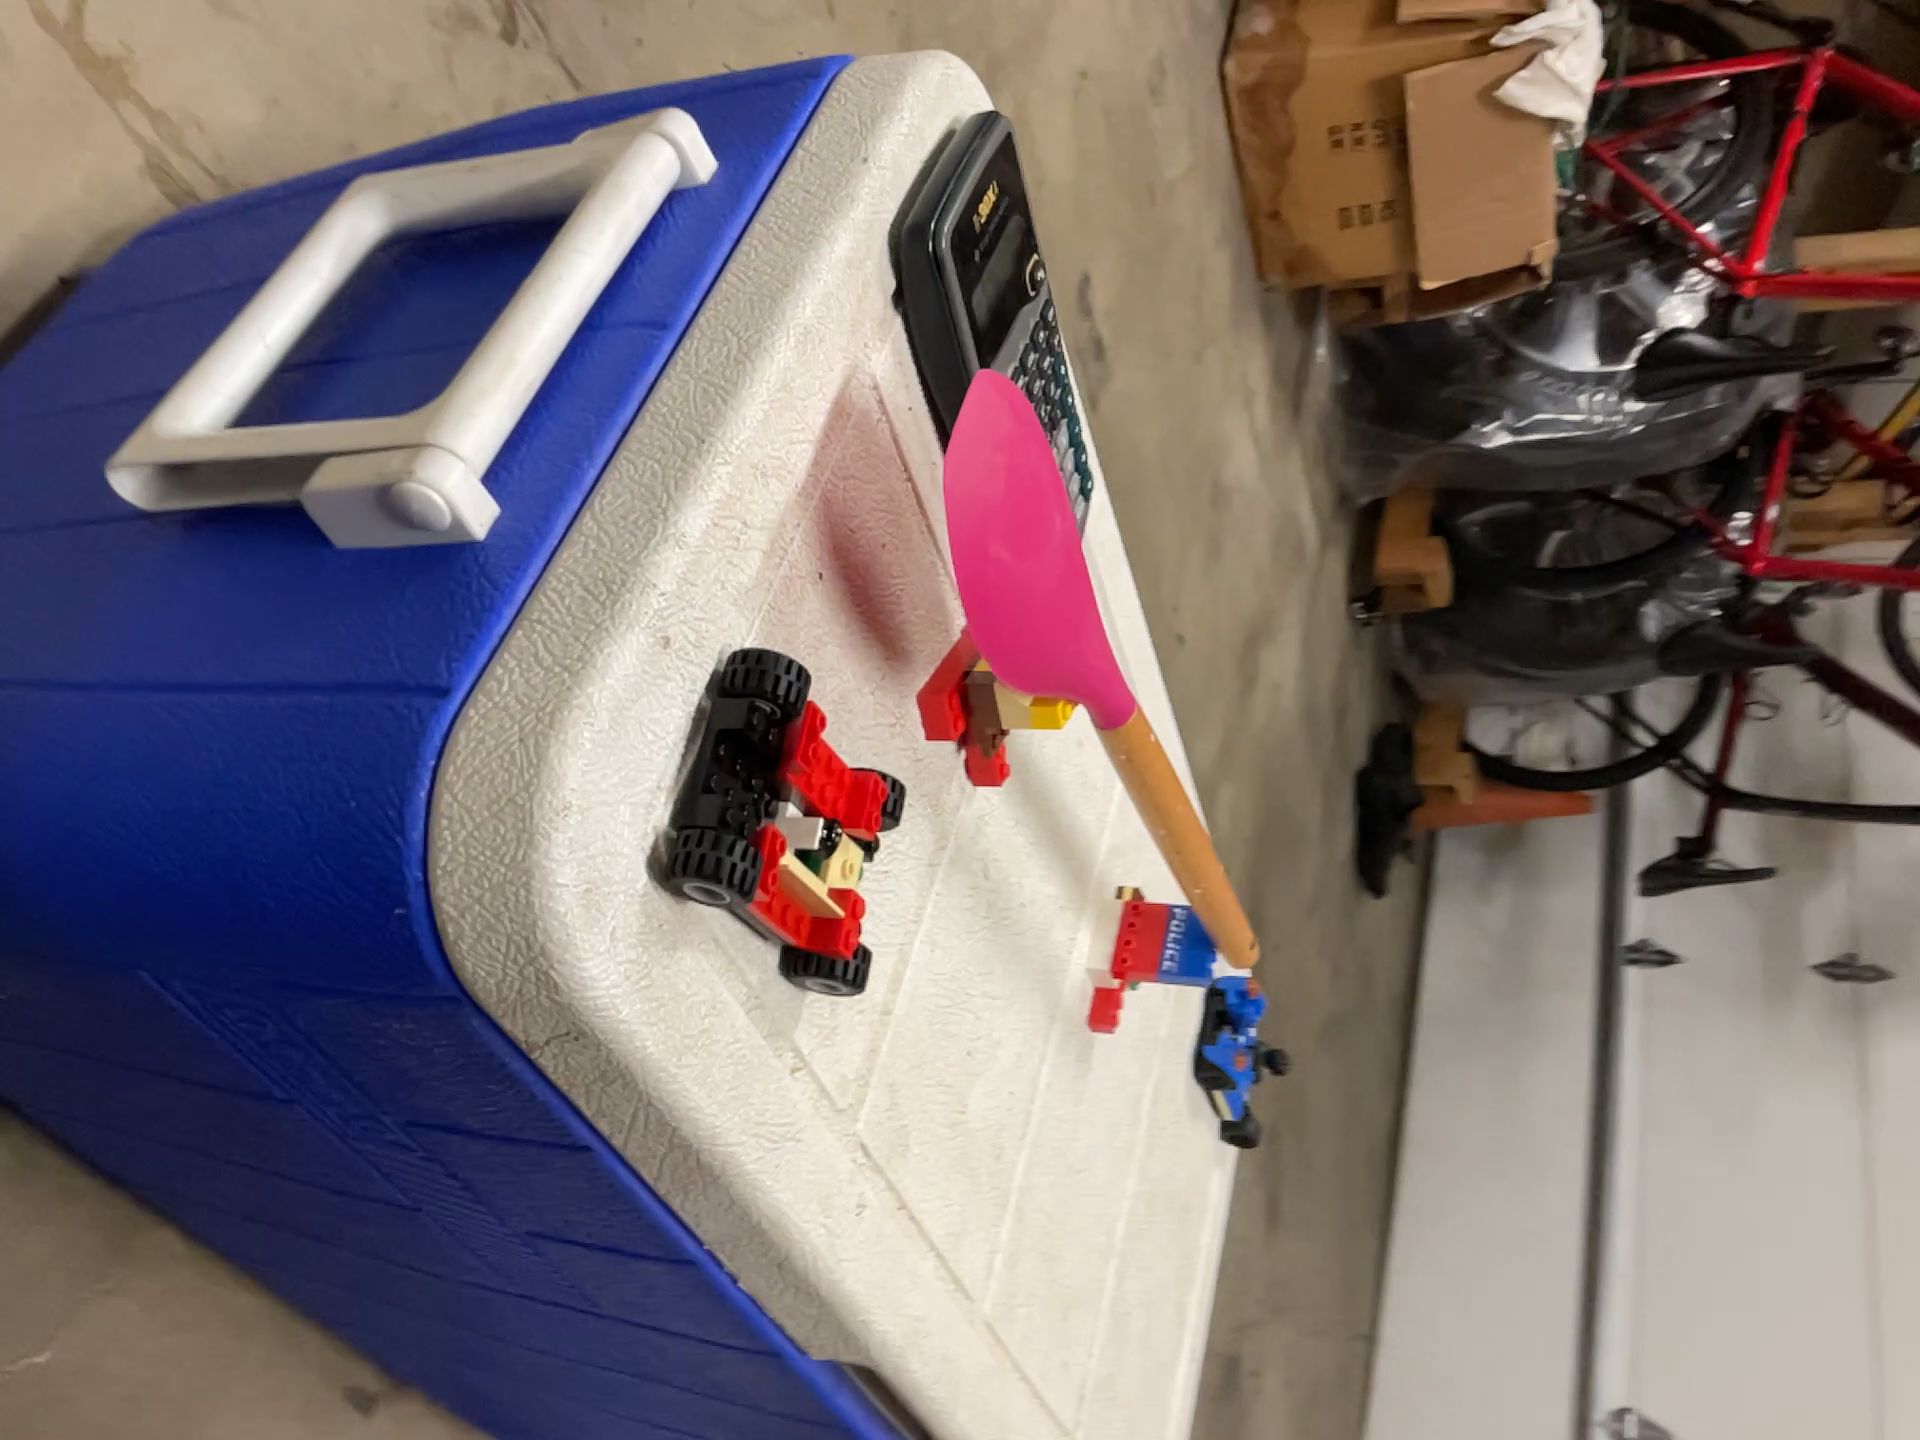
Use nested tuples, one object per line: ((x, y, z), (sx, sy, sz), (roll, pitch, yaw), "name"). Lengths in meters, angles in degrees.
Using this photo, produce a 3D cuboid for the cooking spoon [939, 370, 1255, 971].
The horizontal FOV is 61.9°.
((0.056, 0.010, 0.513), (0.318, 0.017, 0.069), (57, 45, -51), "cooking spoon")
